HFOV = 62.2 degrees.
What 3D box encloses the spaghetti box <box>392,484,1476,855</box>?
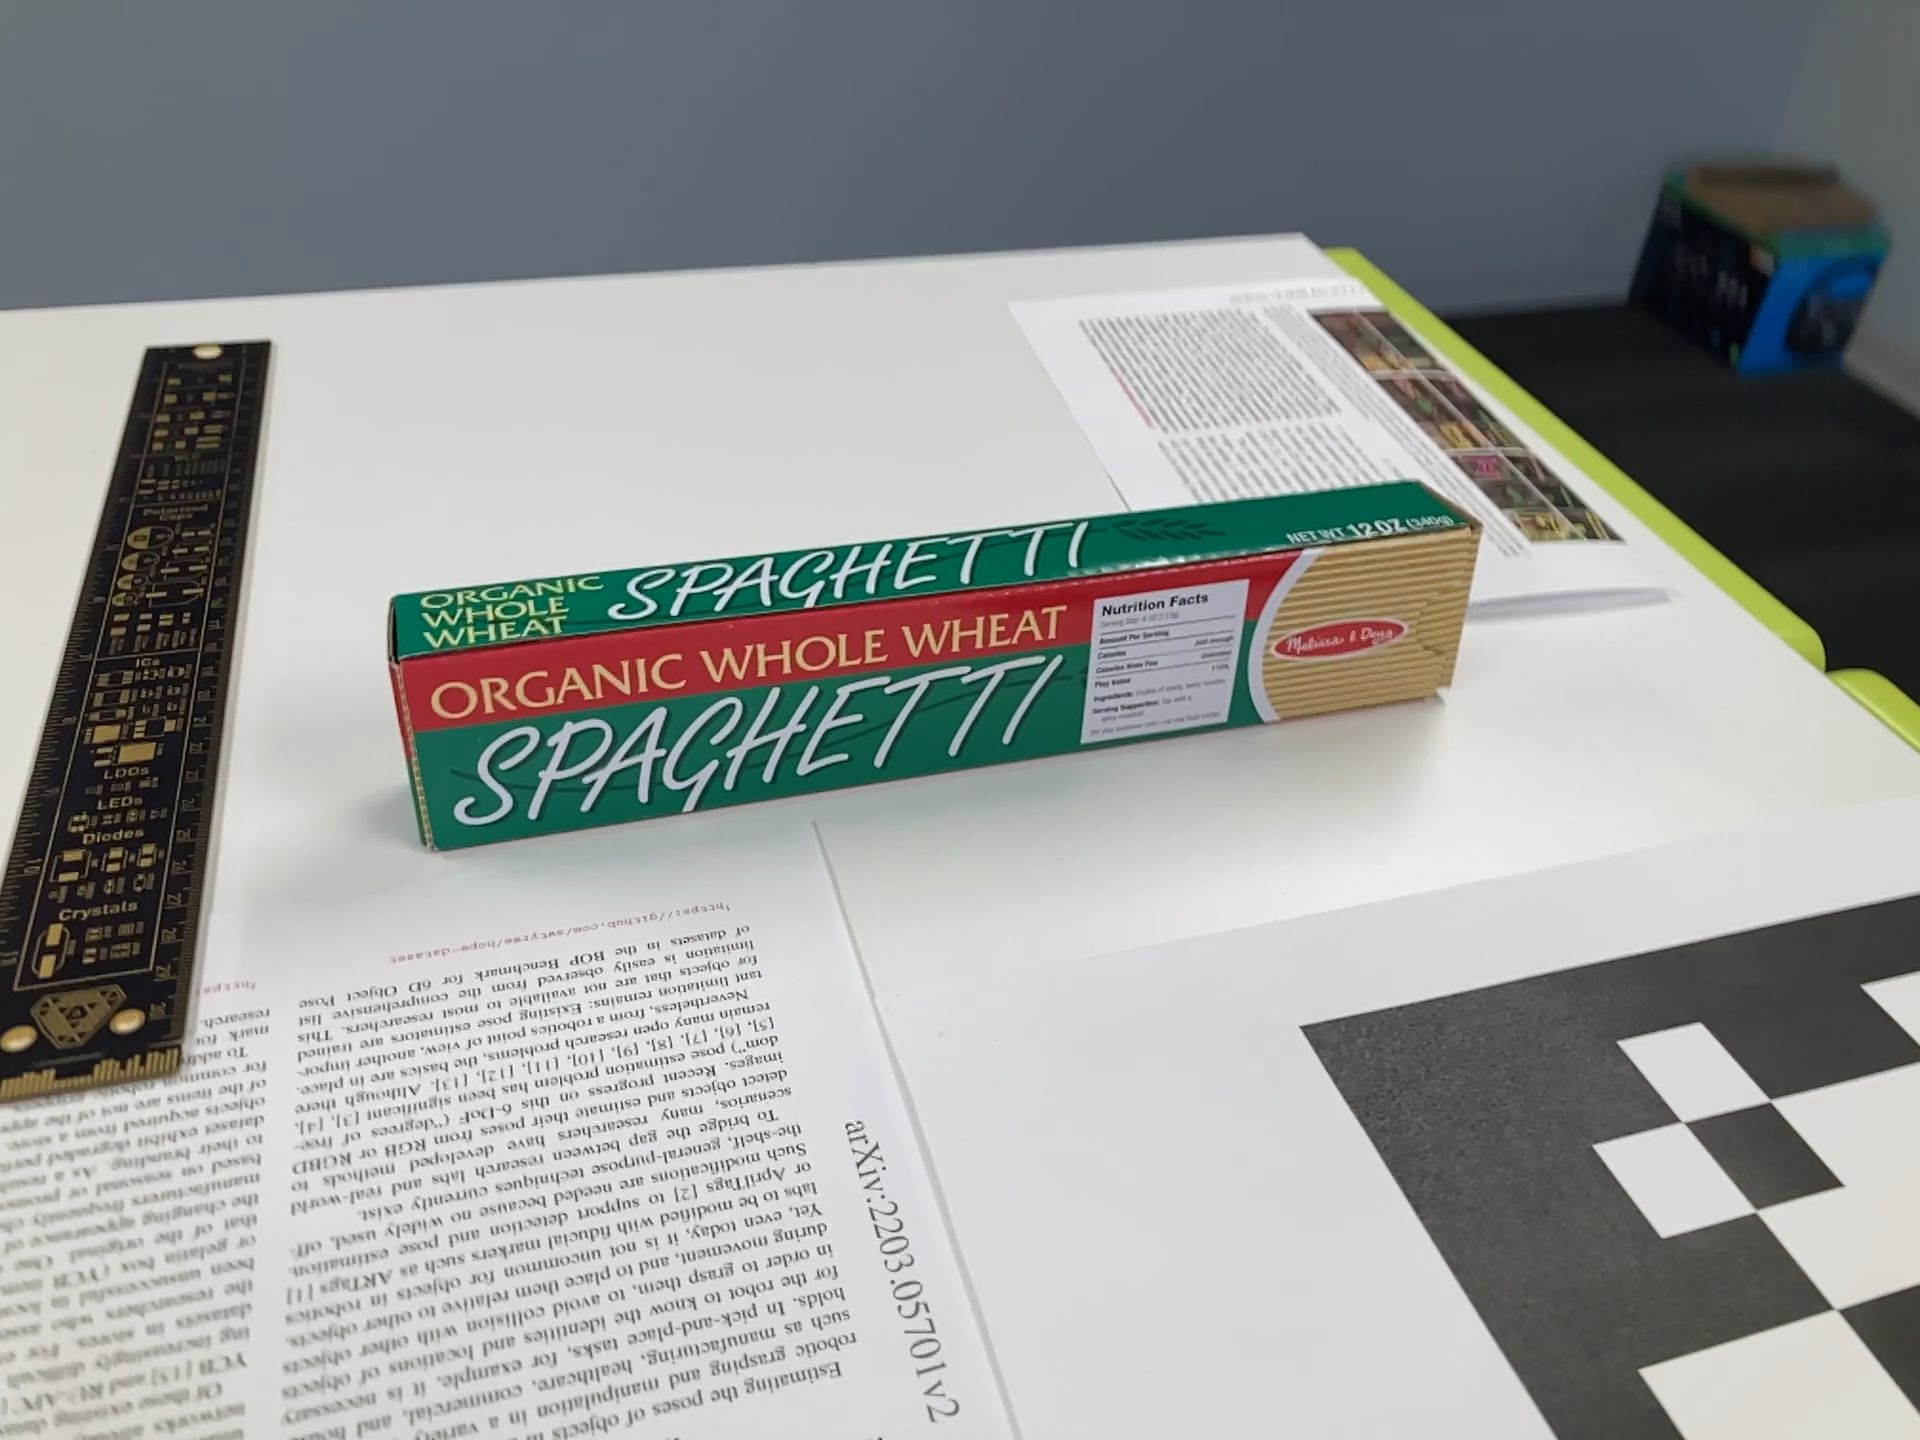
[{"bbox_3d":[0.001,-0.015,0.370,0.250,0.050,0.028,-8,35,-15],"label":"spaghetti box"}]
